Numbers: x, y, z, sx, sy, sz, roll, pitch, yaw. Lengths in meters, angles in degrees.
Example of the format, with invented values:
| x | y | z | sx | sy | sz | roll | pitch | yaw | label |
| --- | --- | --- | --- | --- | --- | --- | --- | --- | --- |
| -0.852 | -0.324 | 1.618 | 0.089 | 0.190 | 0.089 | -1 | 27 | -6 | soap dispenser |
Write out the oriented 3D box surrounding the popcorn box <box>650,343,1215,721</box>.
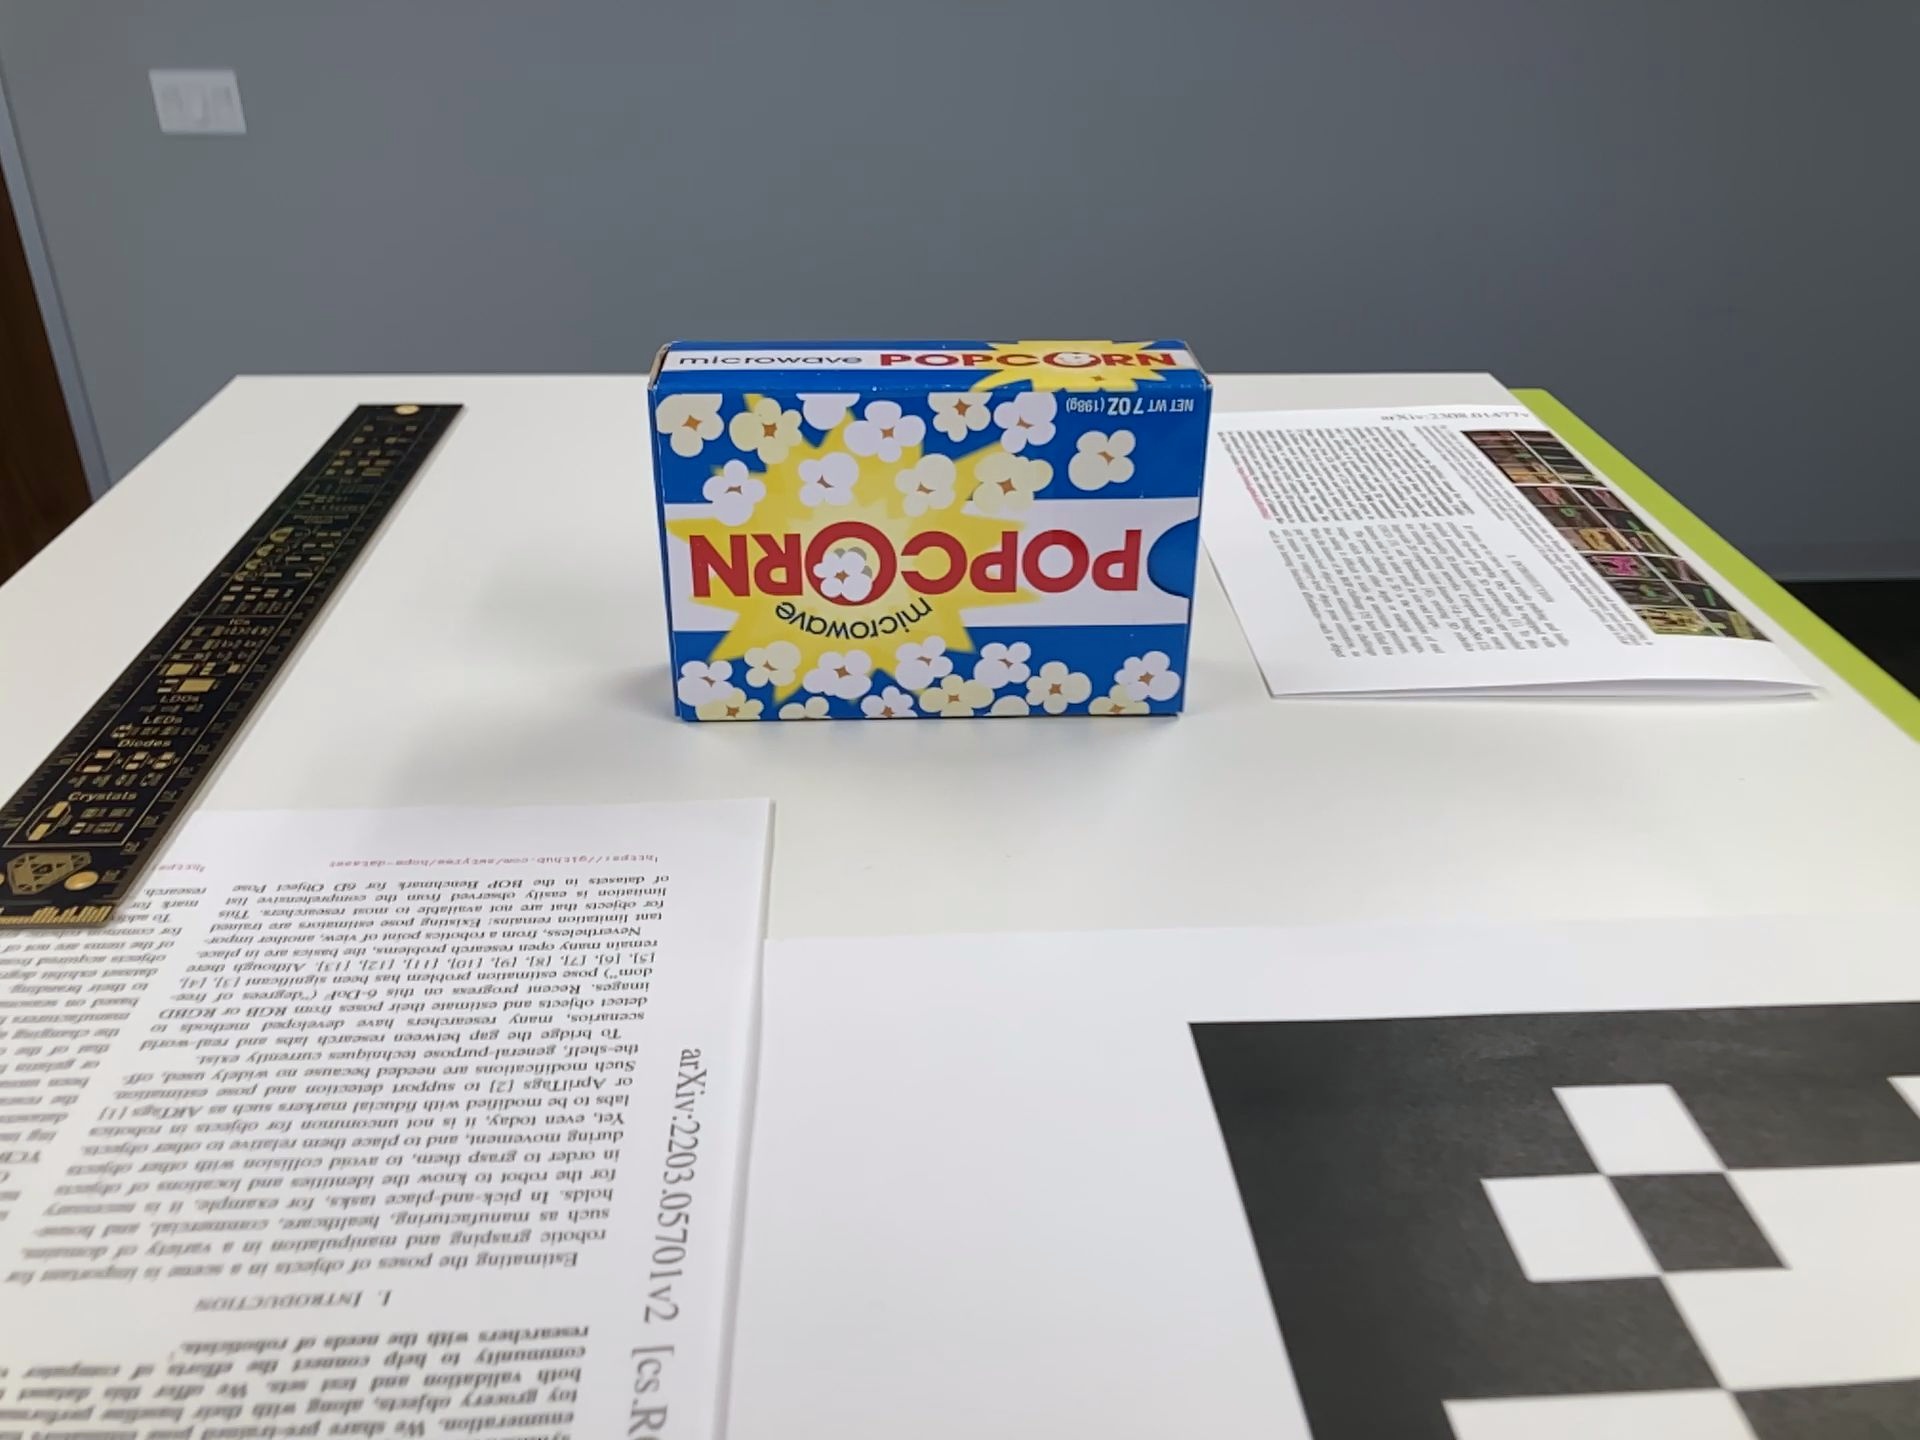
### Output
| x | y | z | sx | sy | sz | roll | pitch | yaw | label |
| --- | --- | --- | --- | --- | --- | --- | --- | --- | --- |
| -0.008 | -0.045 | 0.383 | 0.126 | 0.085 | 0.038 | -1 | 28 | -3 | popcorn box |
